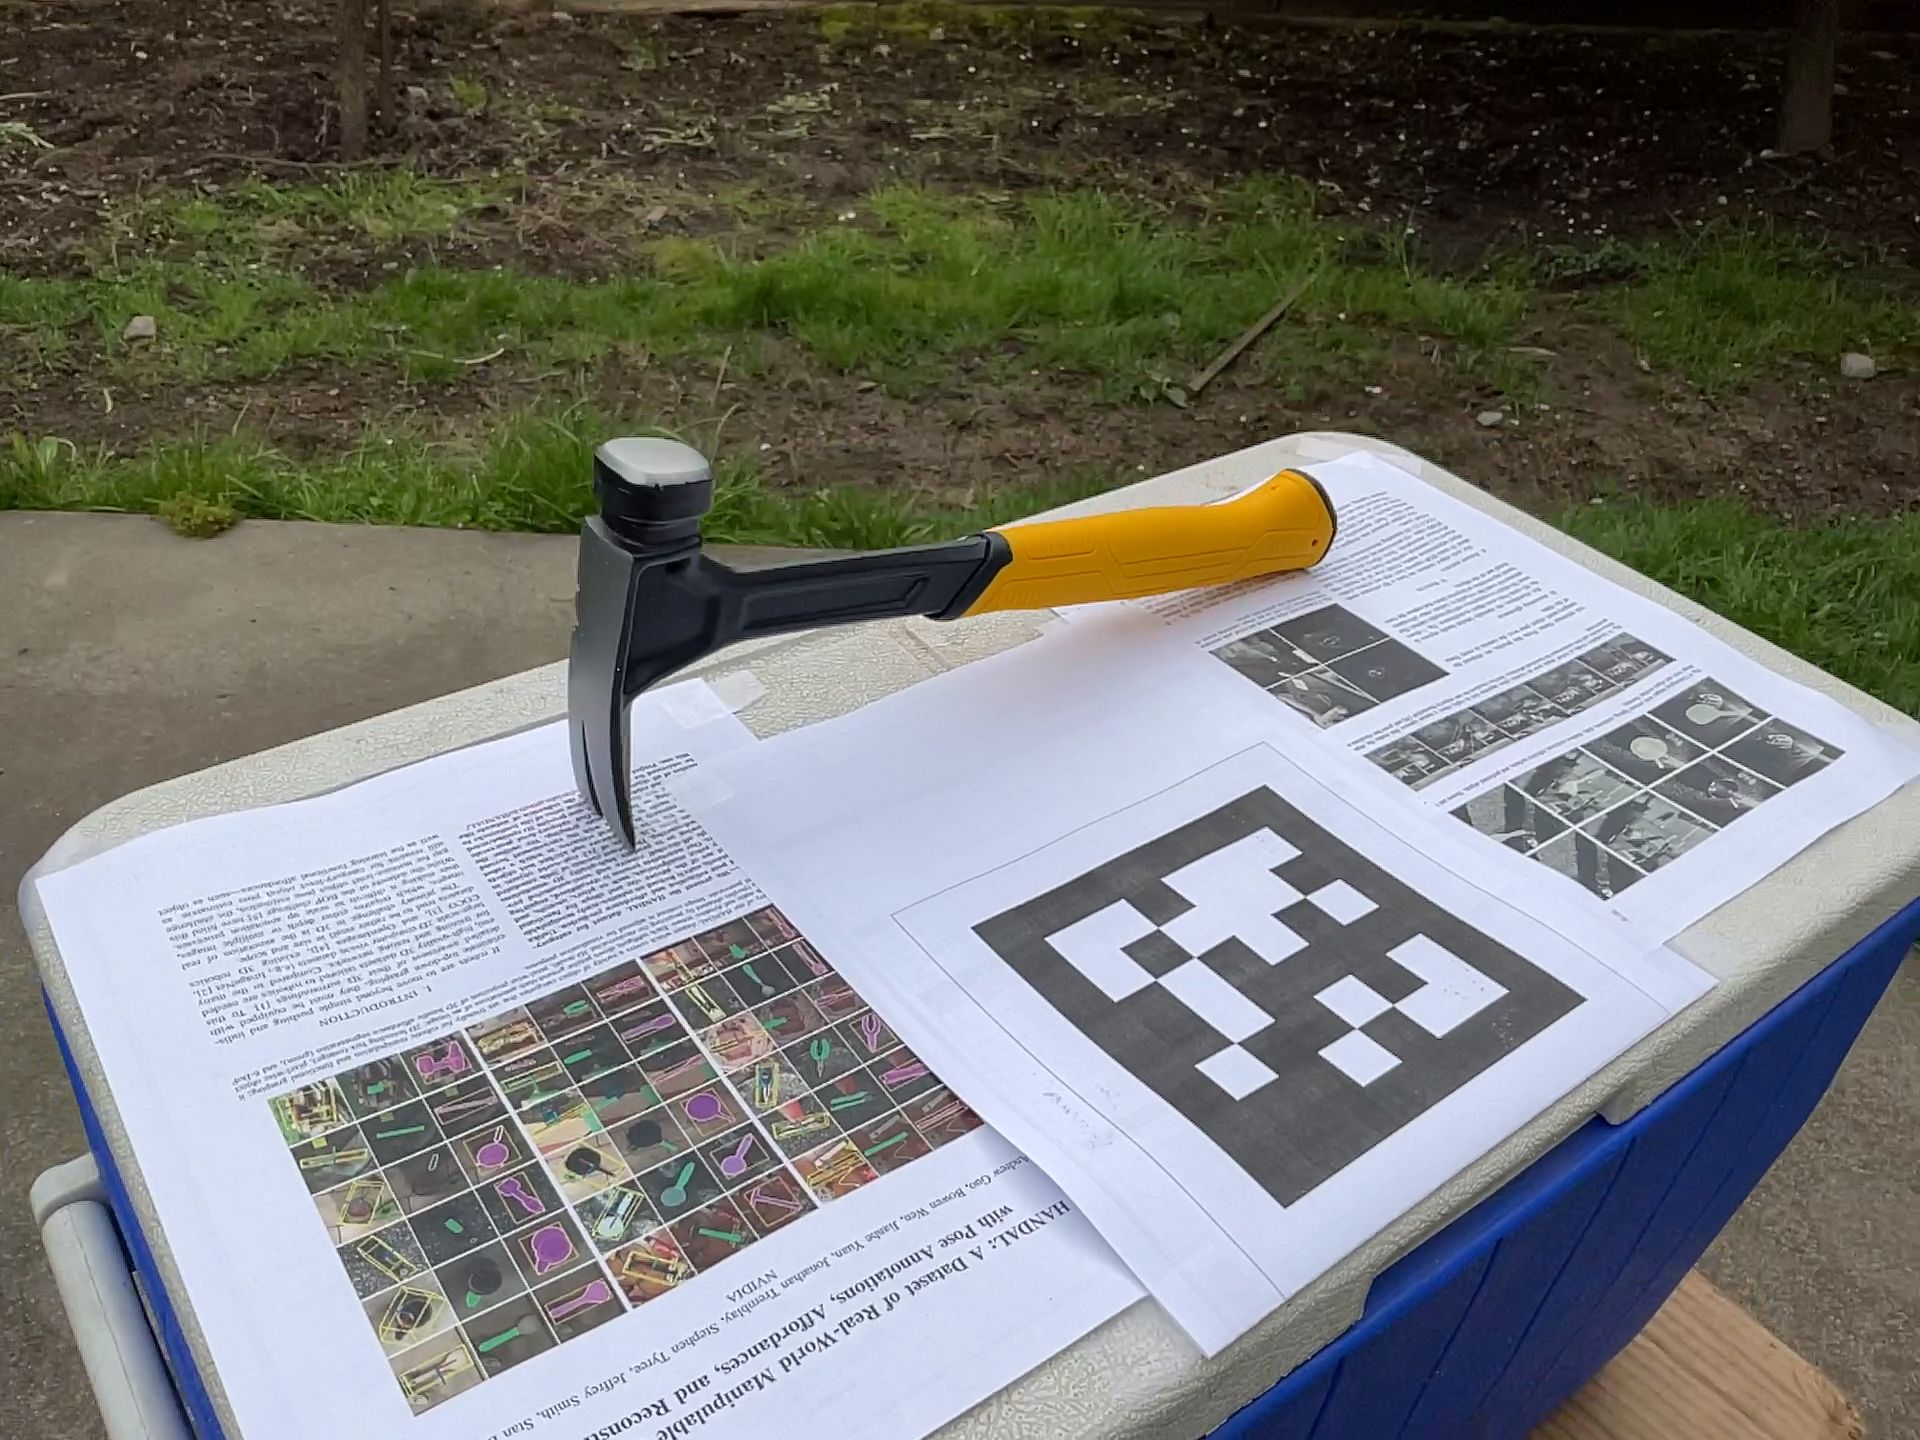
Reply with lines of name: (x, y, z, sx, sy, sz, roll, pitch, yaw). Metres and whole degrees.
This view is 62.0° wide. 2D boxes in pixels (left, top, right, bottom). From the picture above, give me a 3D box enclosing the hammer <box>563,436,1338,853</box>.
hammer: (0.017, -0.046, 0.571, 0.336, 0.127, 0.034, -12, 38, -38)
